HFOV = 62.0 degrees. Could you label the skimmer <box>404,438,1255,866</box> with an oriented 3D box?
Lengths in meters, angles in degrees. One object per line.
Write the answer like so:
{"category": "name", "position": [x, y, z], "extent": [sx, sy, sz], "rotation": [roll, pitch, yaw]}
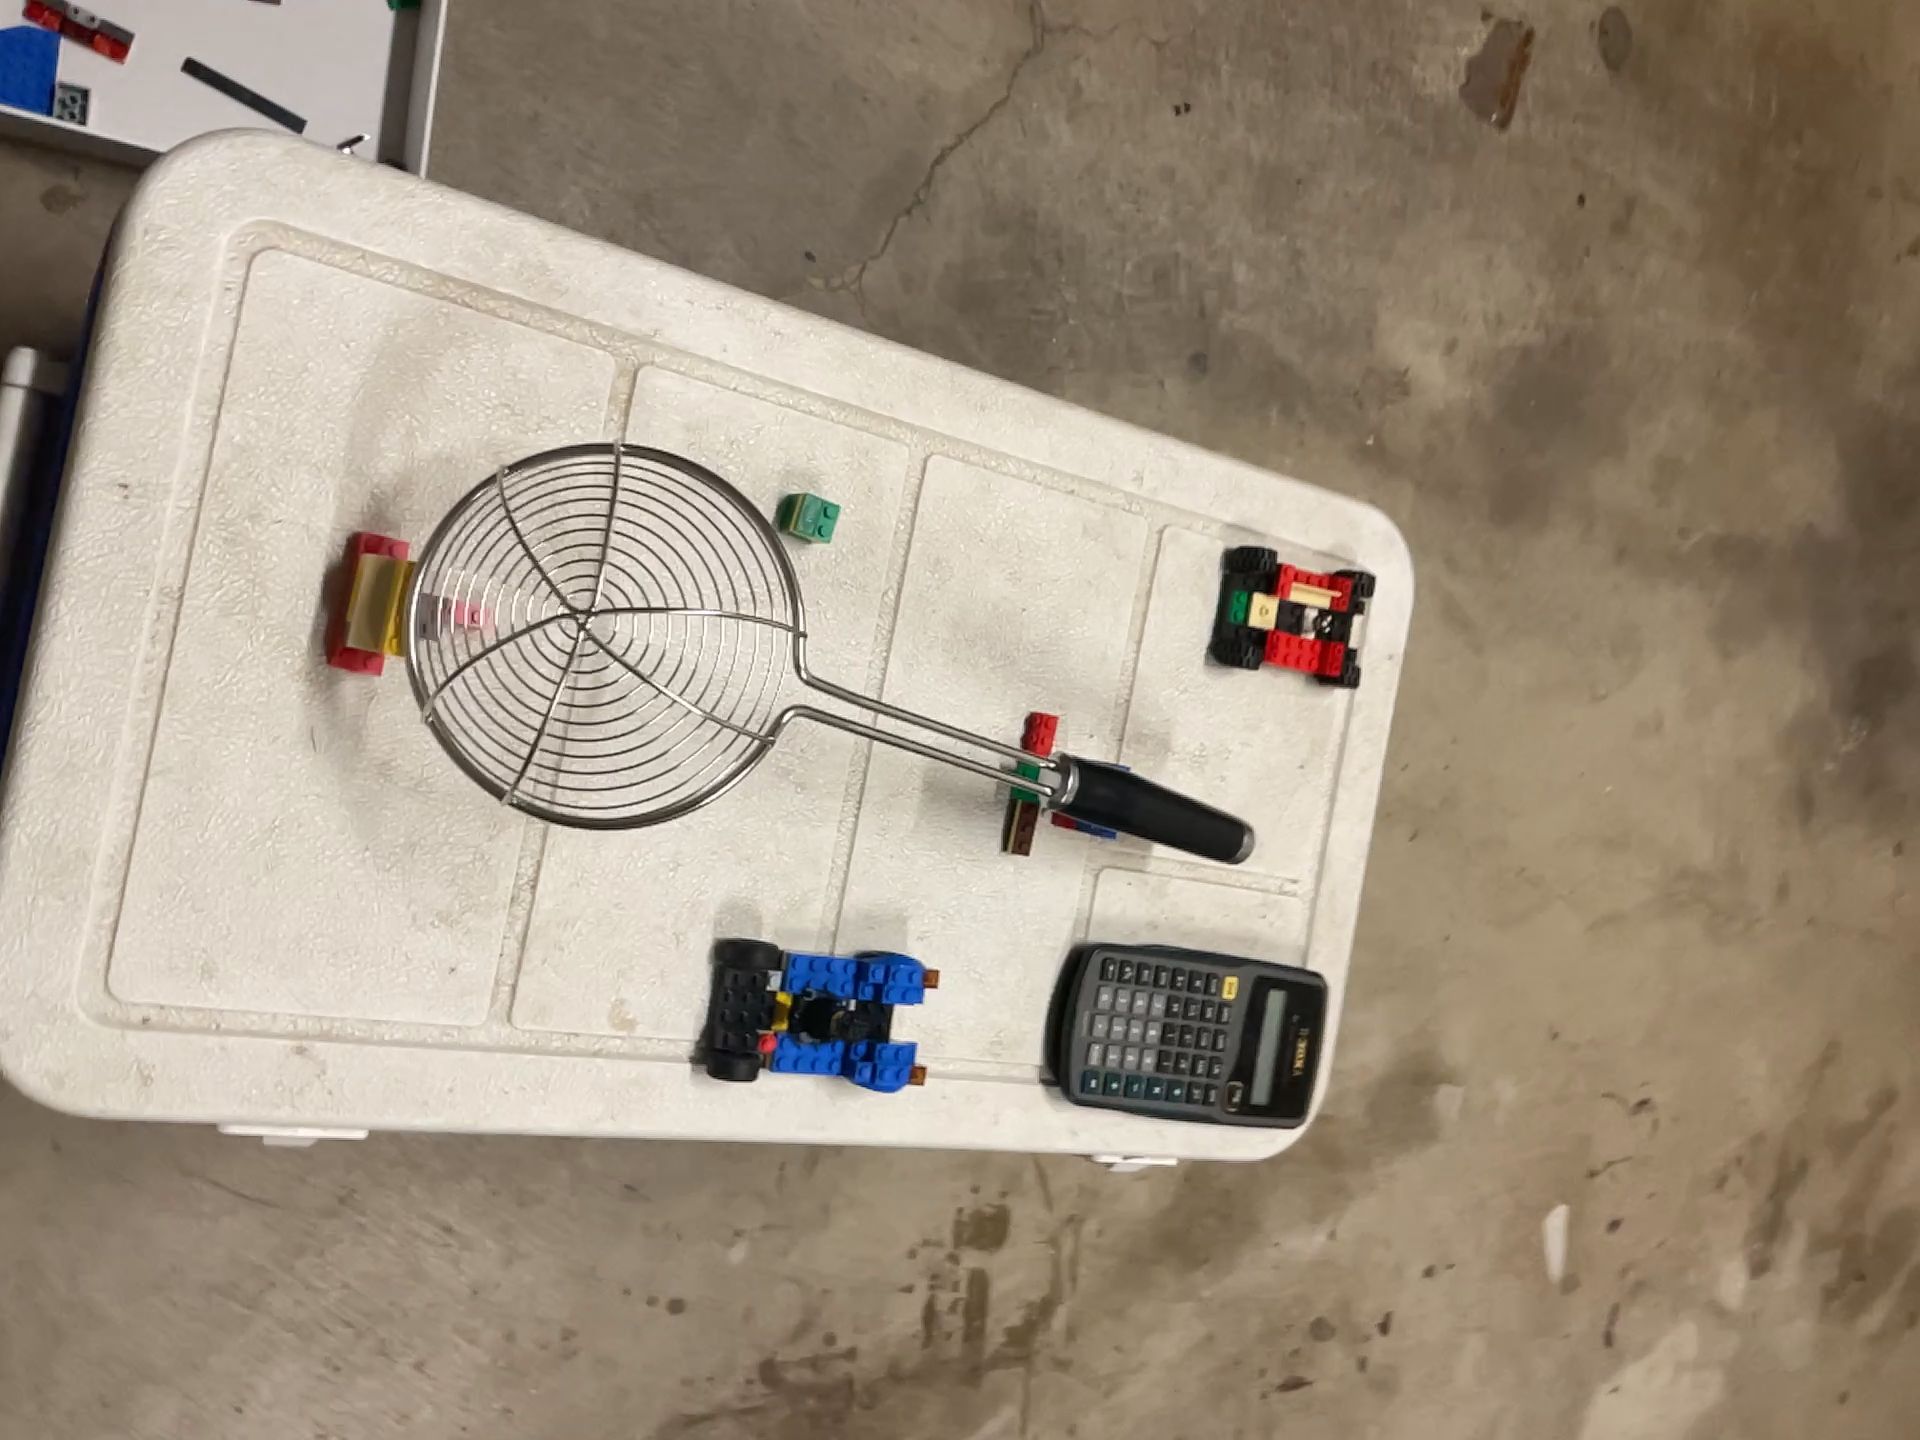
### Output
{"category": "skimmer", "position": [-0.023, 0.005, 0.607], "extent": [0.363, 0.090, 0.127], "rotation": [20, 83, -43]}
